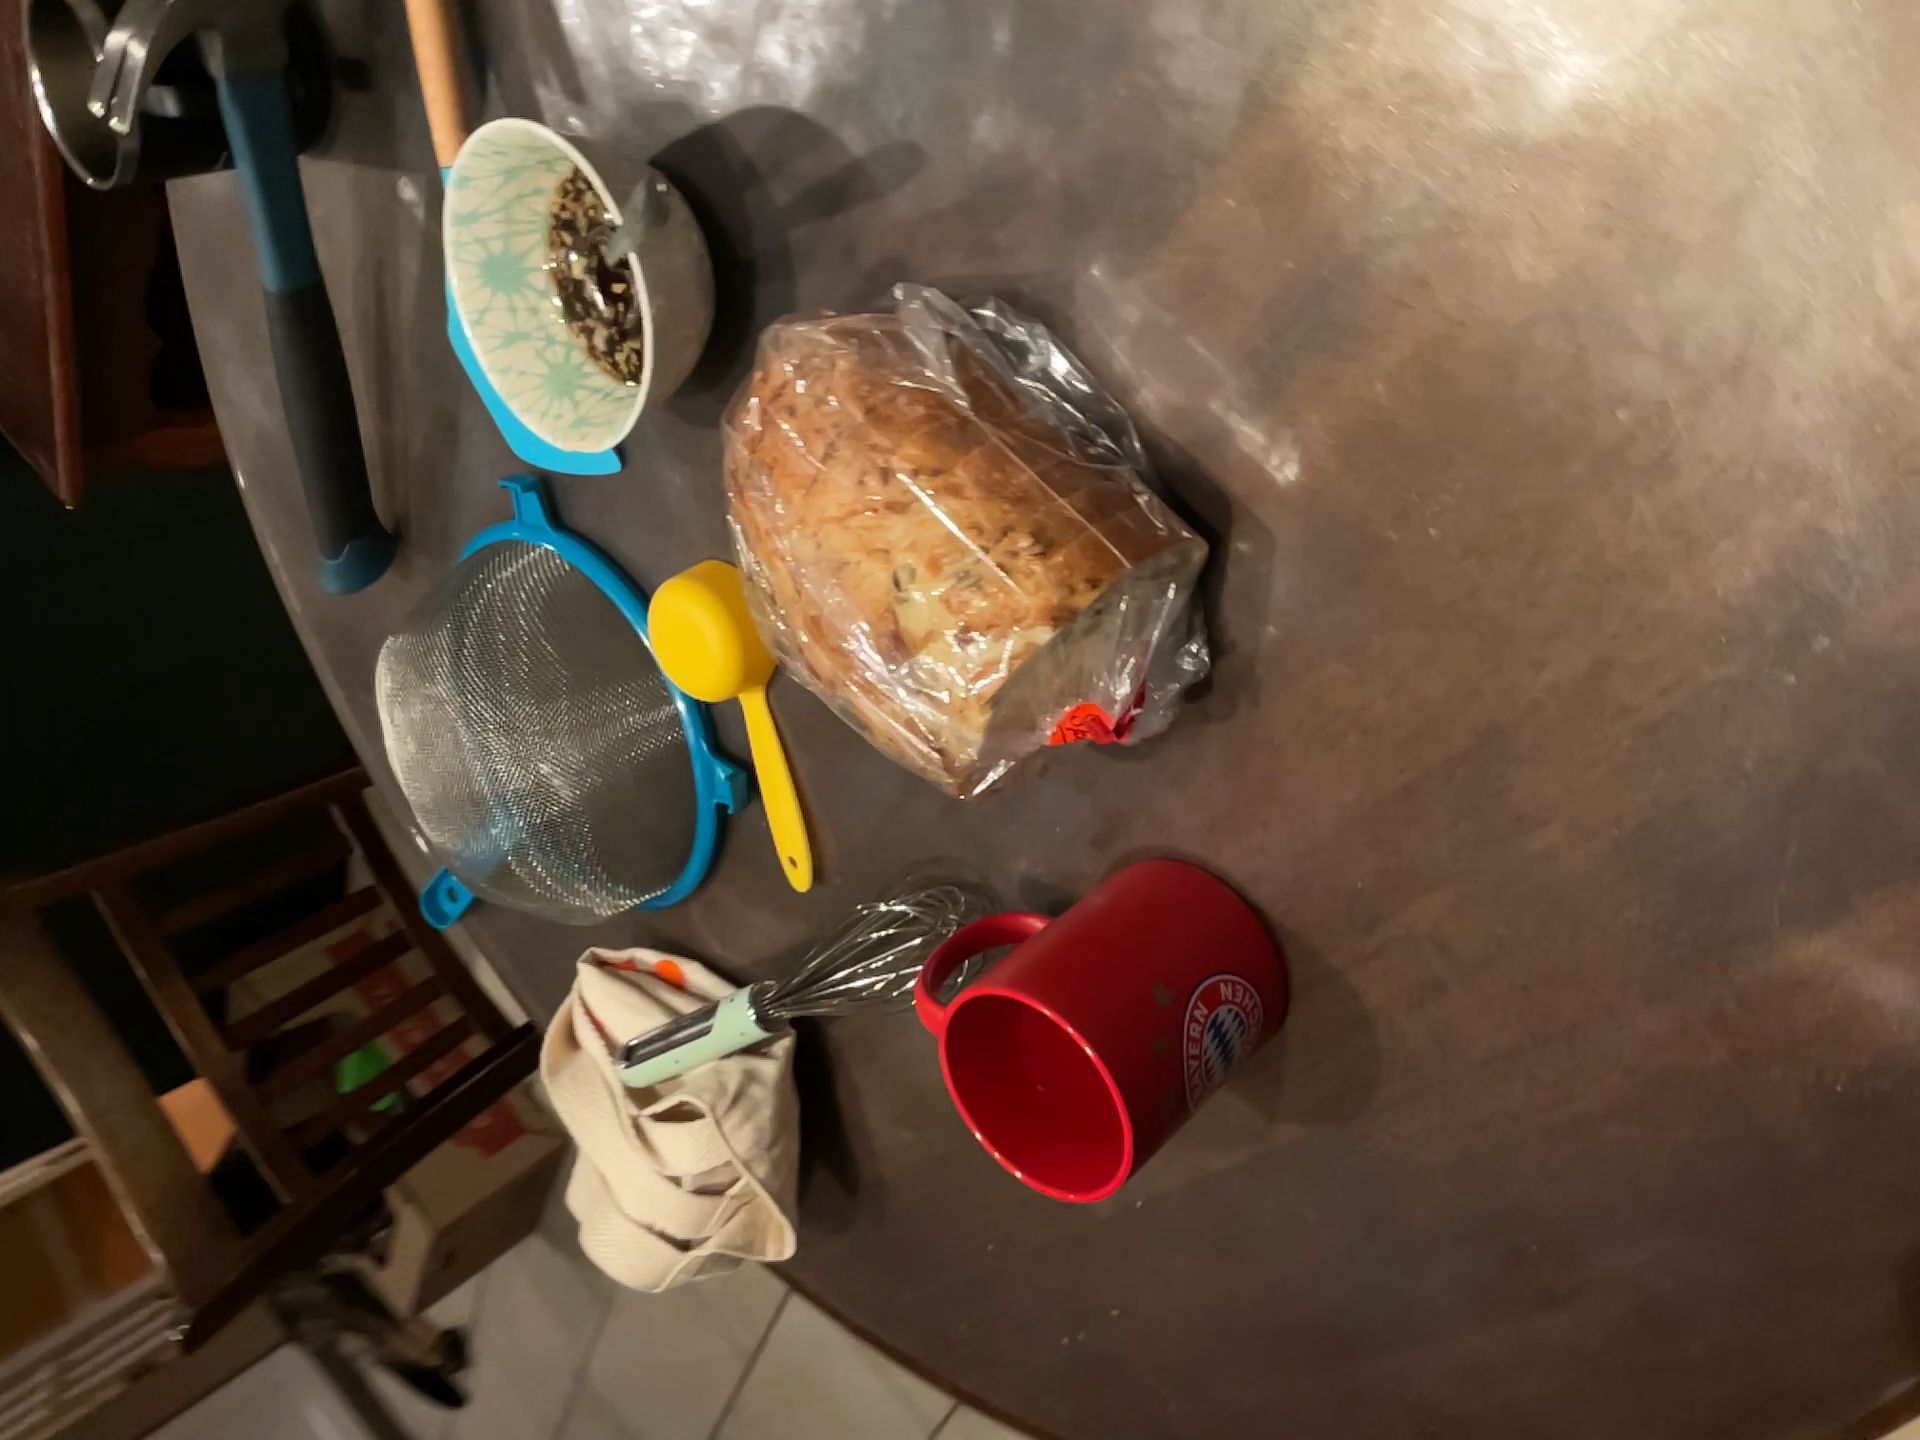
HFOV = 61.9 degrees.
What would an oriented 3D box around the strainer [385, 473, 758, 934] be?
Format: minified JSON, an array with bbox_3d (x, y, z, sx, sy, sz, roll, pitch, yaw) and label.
[{"bbox_3d":[-0.250,0.046,0.828,0.211,0.095,0.340,55,134,8],"label":"strainer"}]

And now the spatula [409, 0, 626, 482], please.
[{"bbox_3d":[-0.205,-0.254,0.677,0.082,0.044,0.317,11,115,42],"label":"spatula"}]

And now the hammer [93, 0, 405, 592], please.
[{"bbox_3d":[-0.311,-0.198,0.763,0.033,0.128,0.330,38,142,28],"label":"hammer"}]

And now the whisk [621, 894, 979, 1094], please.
[{"bbox_3d":[-0.082,0.129,0.719,0.059,0.058,0.246,40,134,-22],"label":"whisk"}]

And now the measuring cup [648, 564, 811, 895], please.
[{"bbox_3d":[-0.098,0.010,0.705,0.062,0.029,0.156,-2,109,45],"label":"measuring cup"}]
